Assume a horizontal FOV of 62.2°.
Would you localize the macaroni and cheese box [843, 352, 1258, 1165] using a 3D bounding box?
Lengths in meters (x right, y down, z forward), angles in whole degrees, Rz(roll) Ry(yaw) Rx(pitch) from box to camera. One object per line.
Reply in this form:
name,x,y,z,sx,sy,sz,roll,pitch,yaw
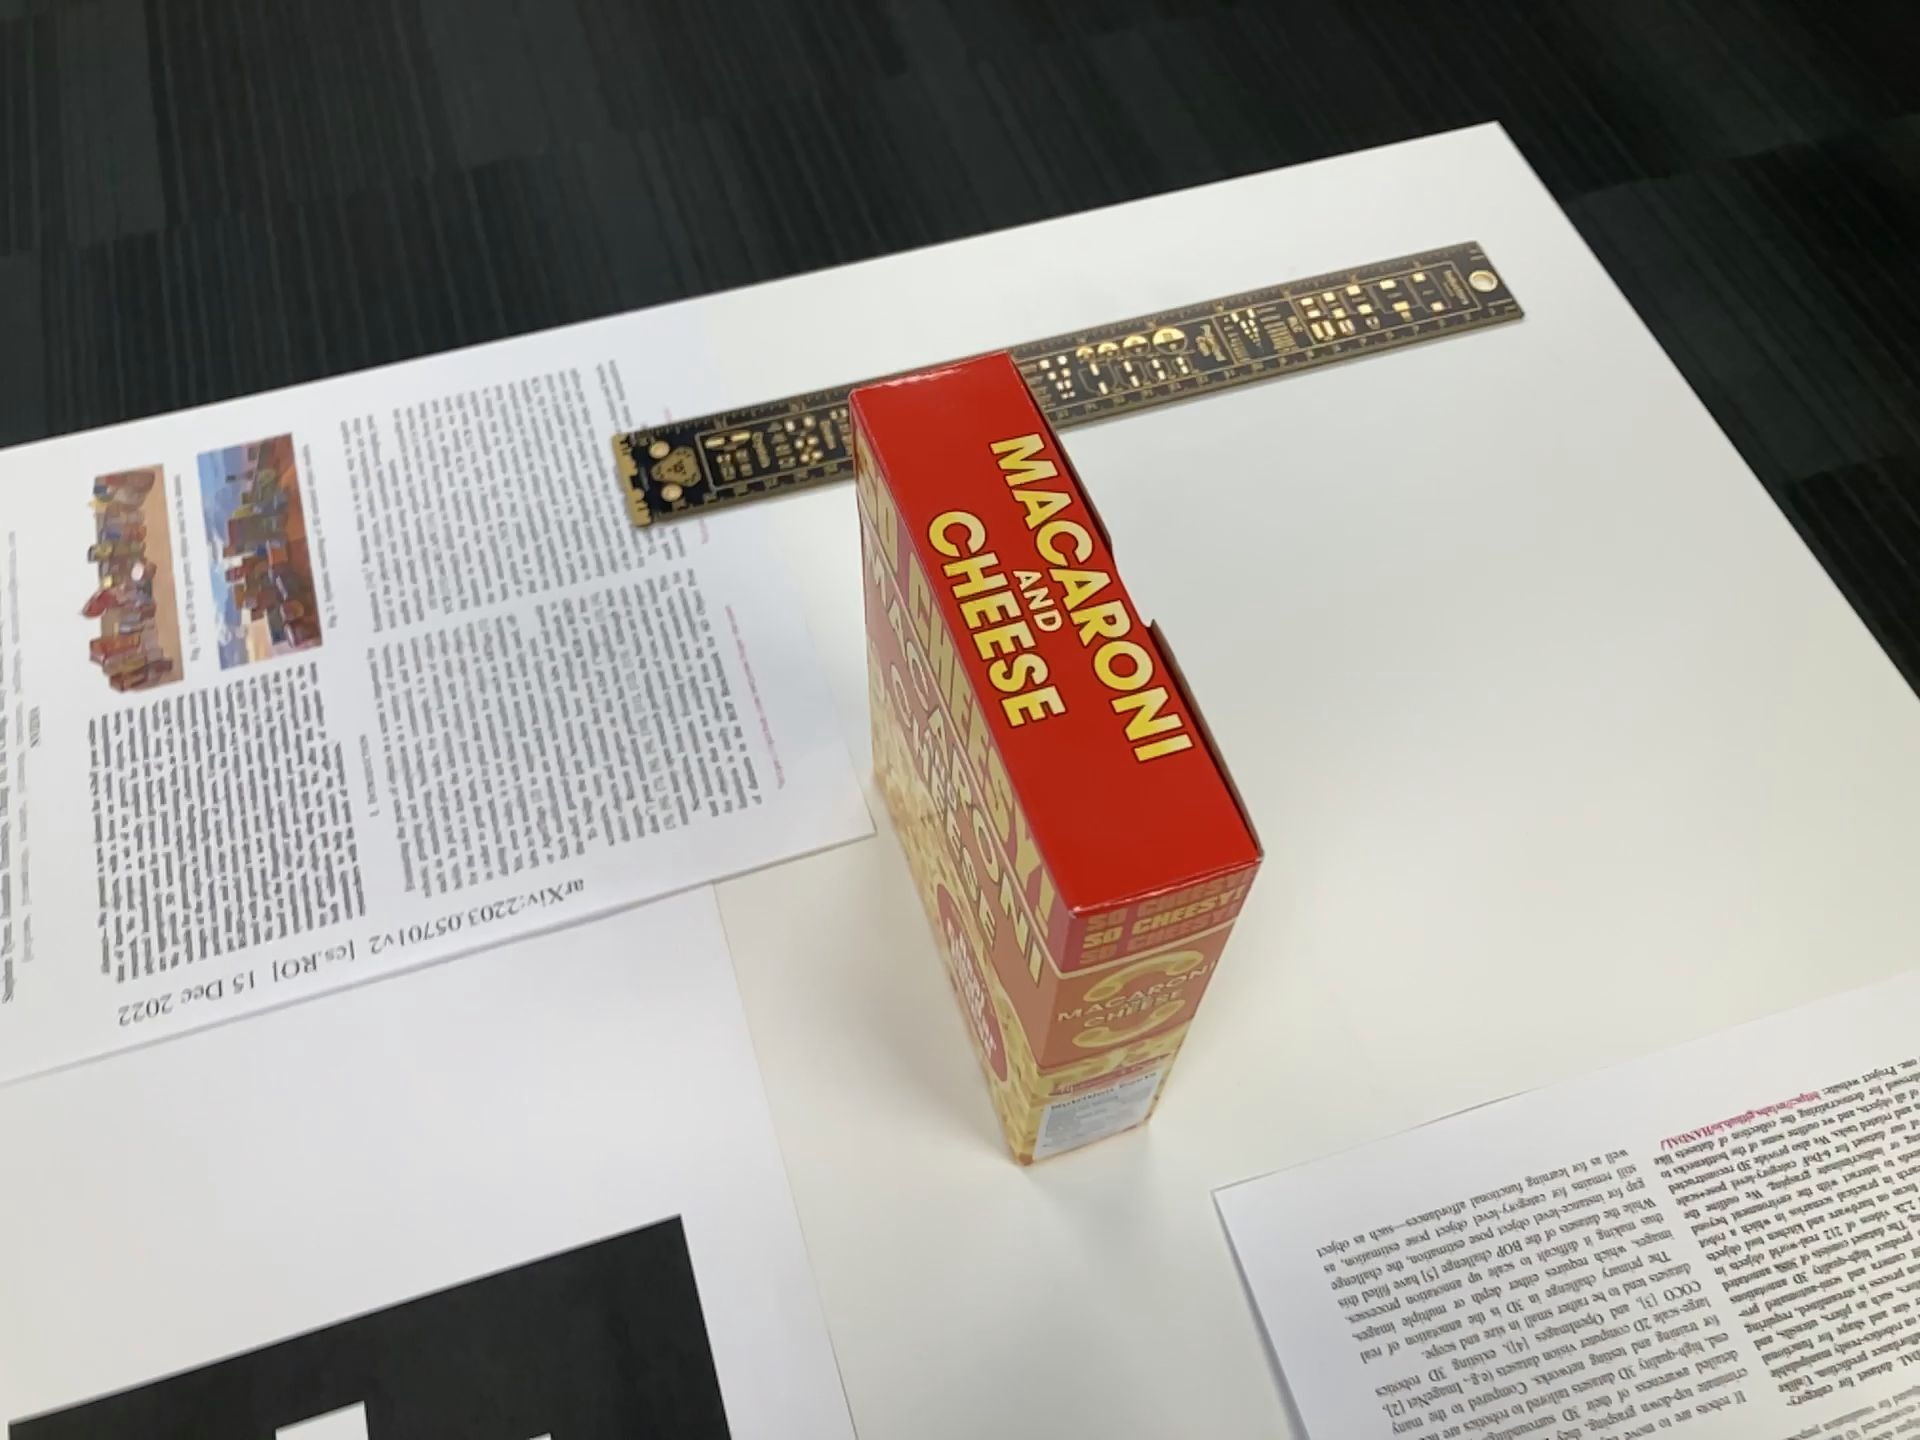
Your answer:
macaroni and cheese box,0.014,0.018,0.369,0.040,0.166,0.124,-18,62,-11
